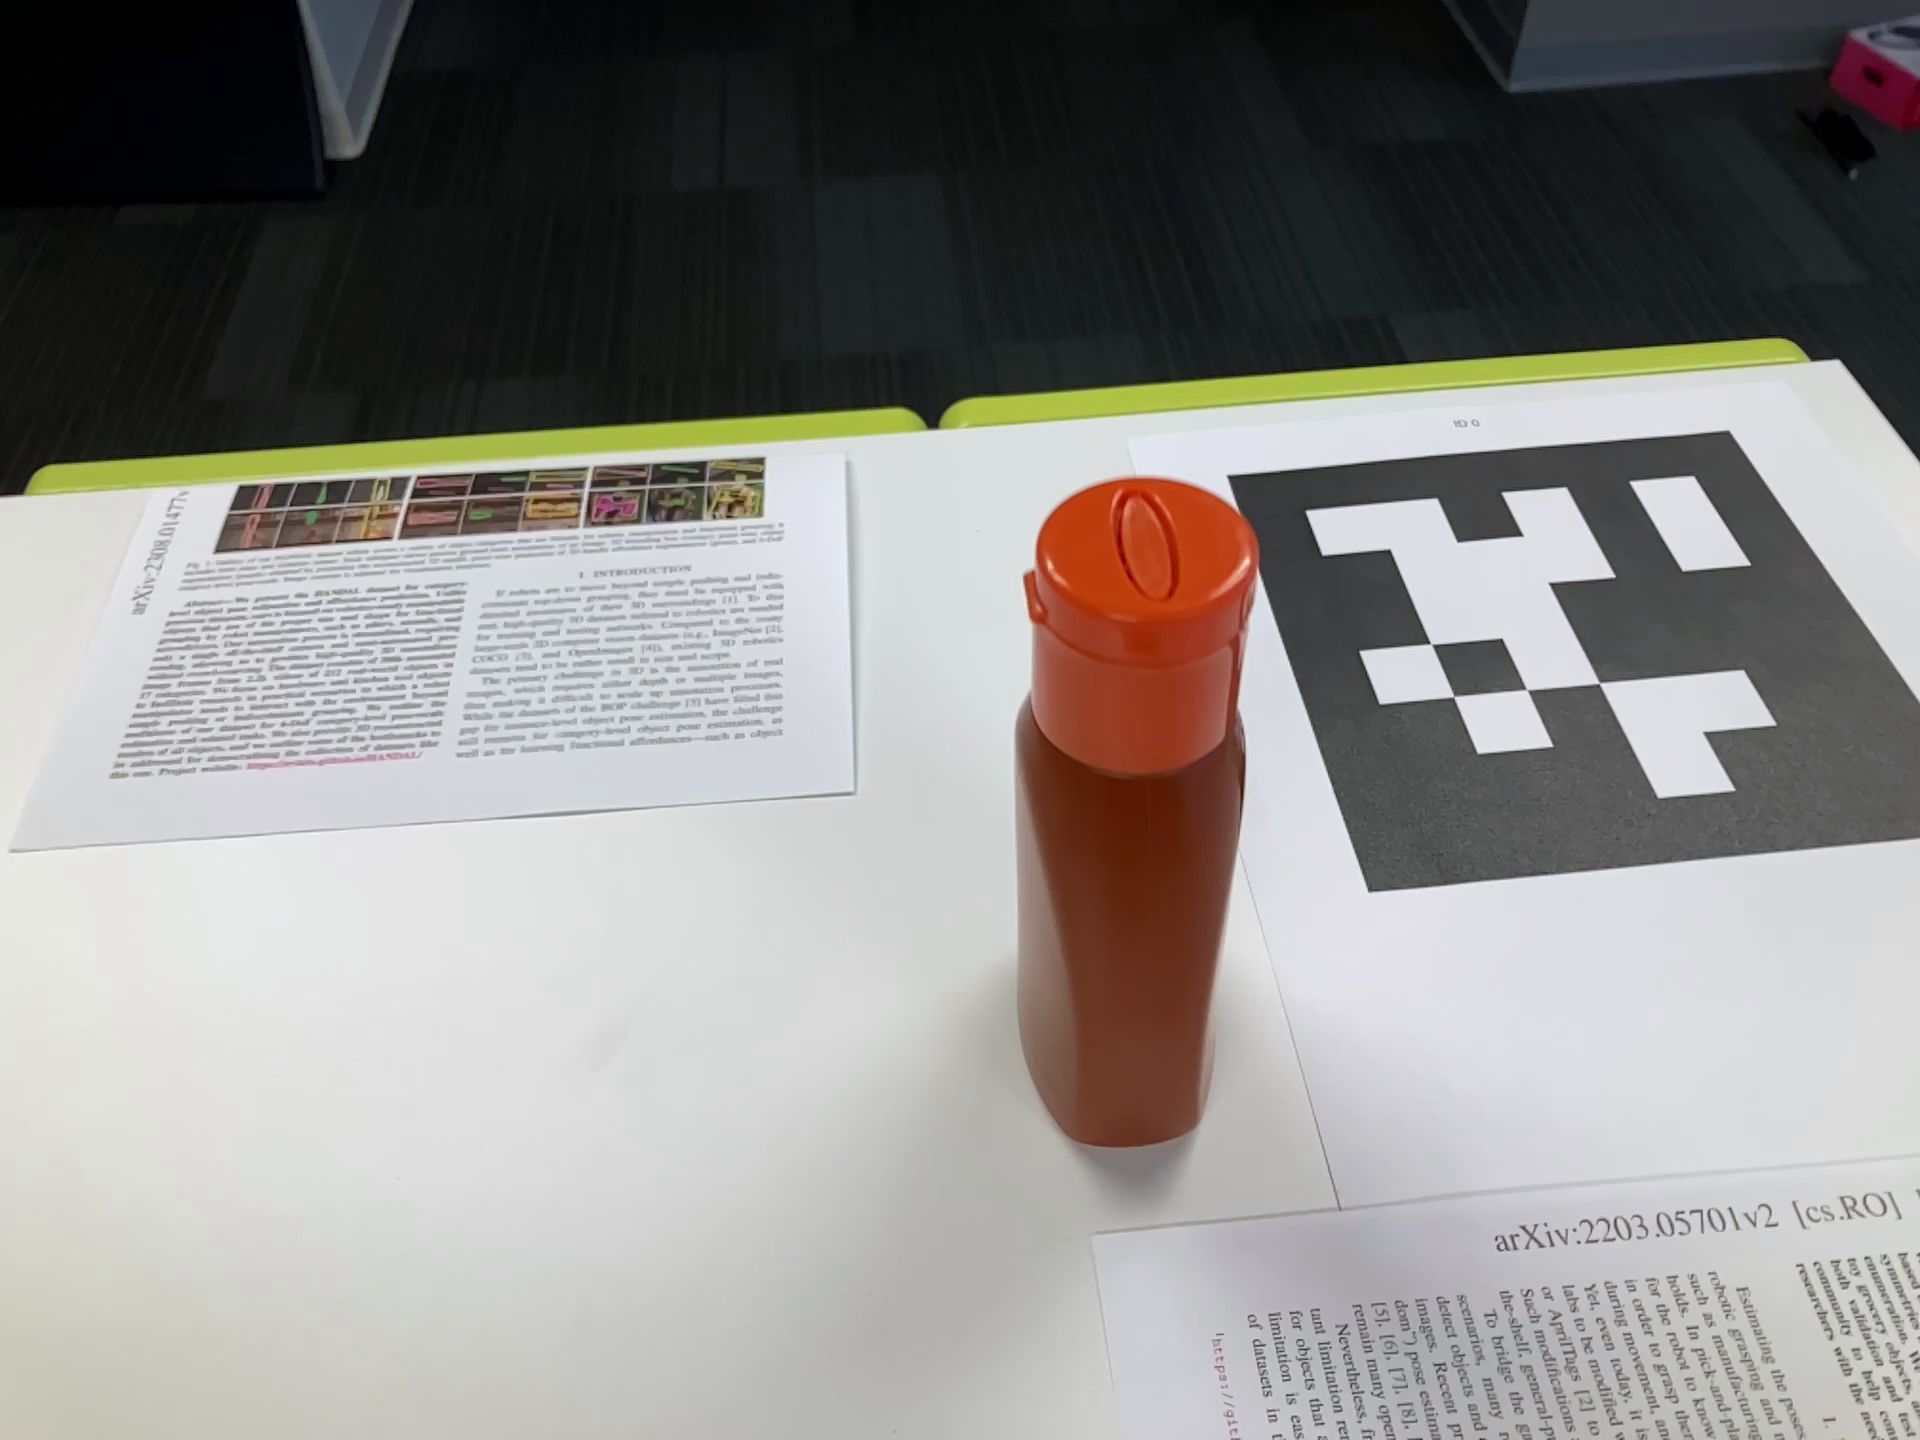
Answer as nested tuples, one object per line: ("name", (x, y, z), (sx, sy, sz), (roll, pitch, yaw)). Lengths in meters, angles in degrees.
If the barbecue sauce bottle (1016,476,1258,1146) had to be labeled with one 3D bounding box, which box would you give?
("barbecue sauce bottle", (0.033, 0.021, 0.311), (0.043, 0.148, 0.065), (-4, 47, -1))
